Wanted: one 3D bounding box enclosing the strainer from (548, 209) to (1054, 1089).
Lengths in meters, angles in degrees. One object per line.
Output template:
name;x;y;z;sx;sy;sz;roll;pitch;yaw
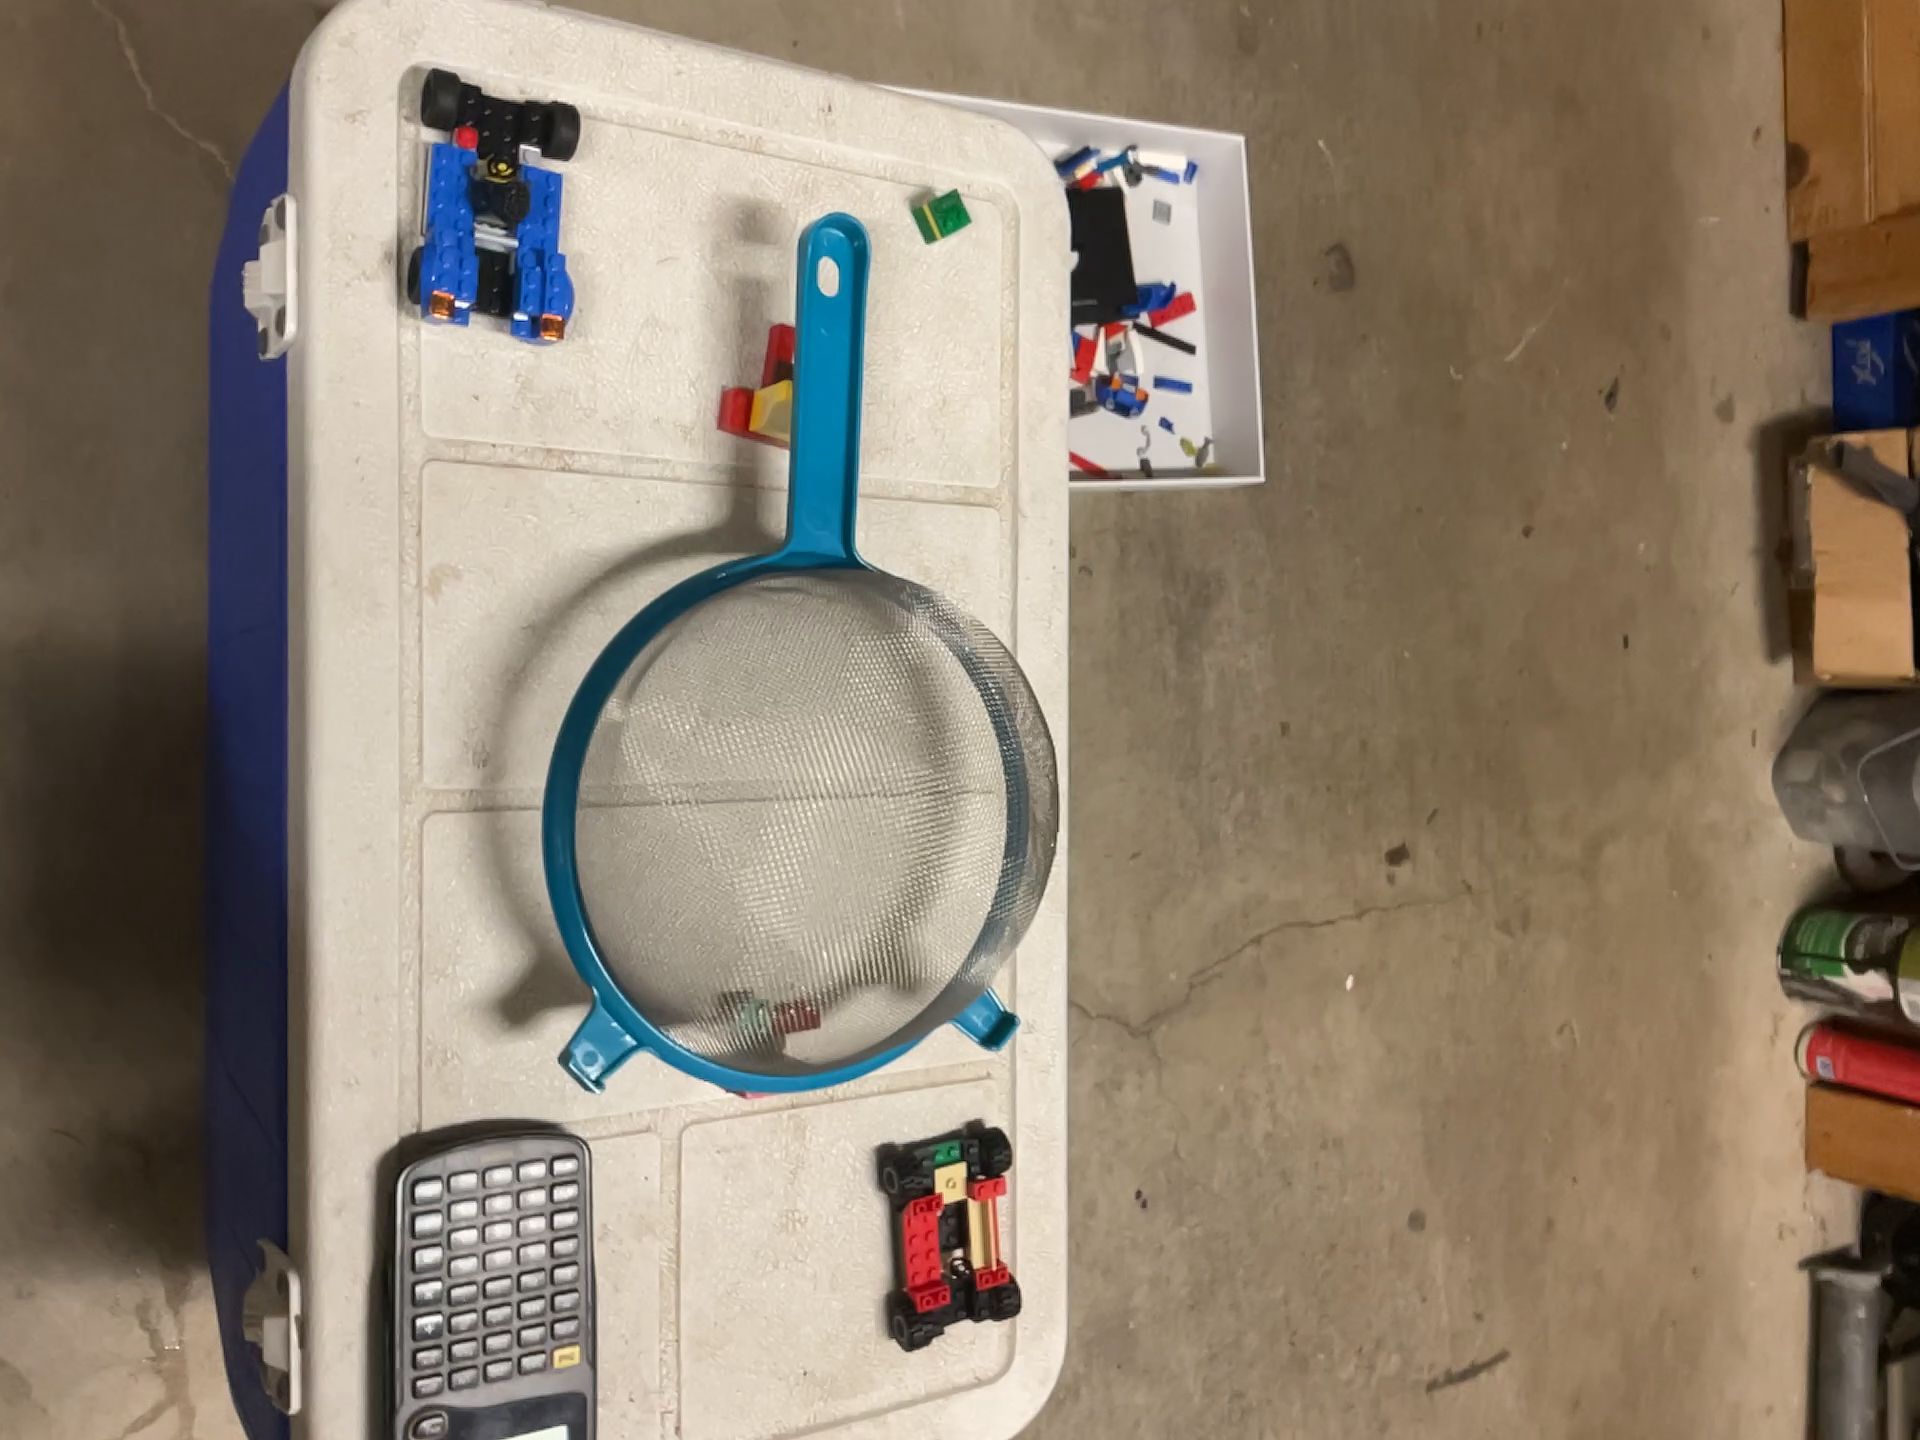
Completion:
strainer;-0.034;-0.026;0.591;0.211;0.095;0.340;2;90;-33
